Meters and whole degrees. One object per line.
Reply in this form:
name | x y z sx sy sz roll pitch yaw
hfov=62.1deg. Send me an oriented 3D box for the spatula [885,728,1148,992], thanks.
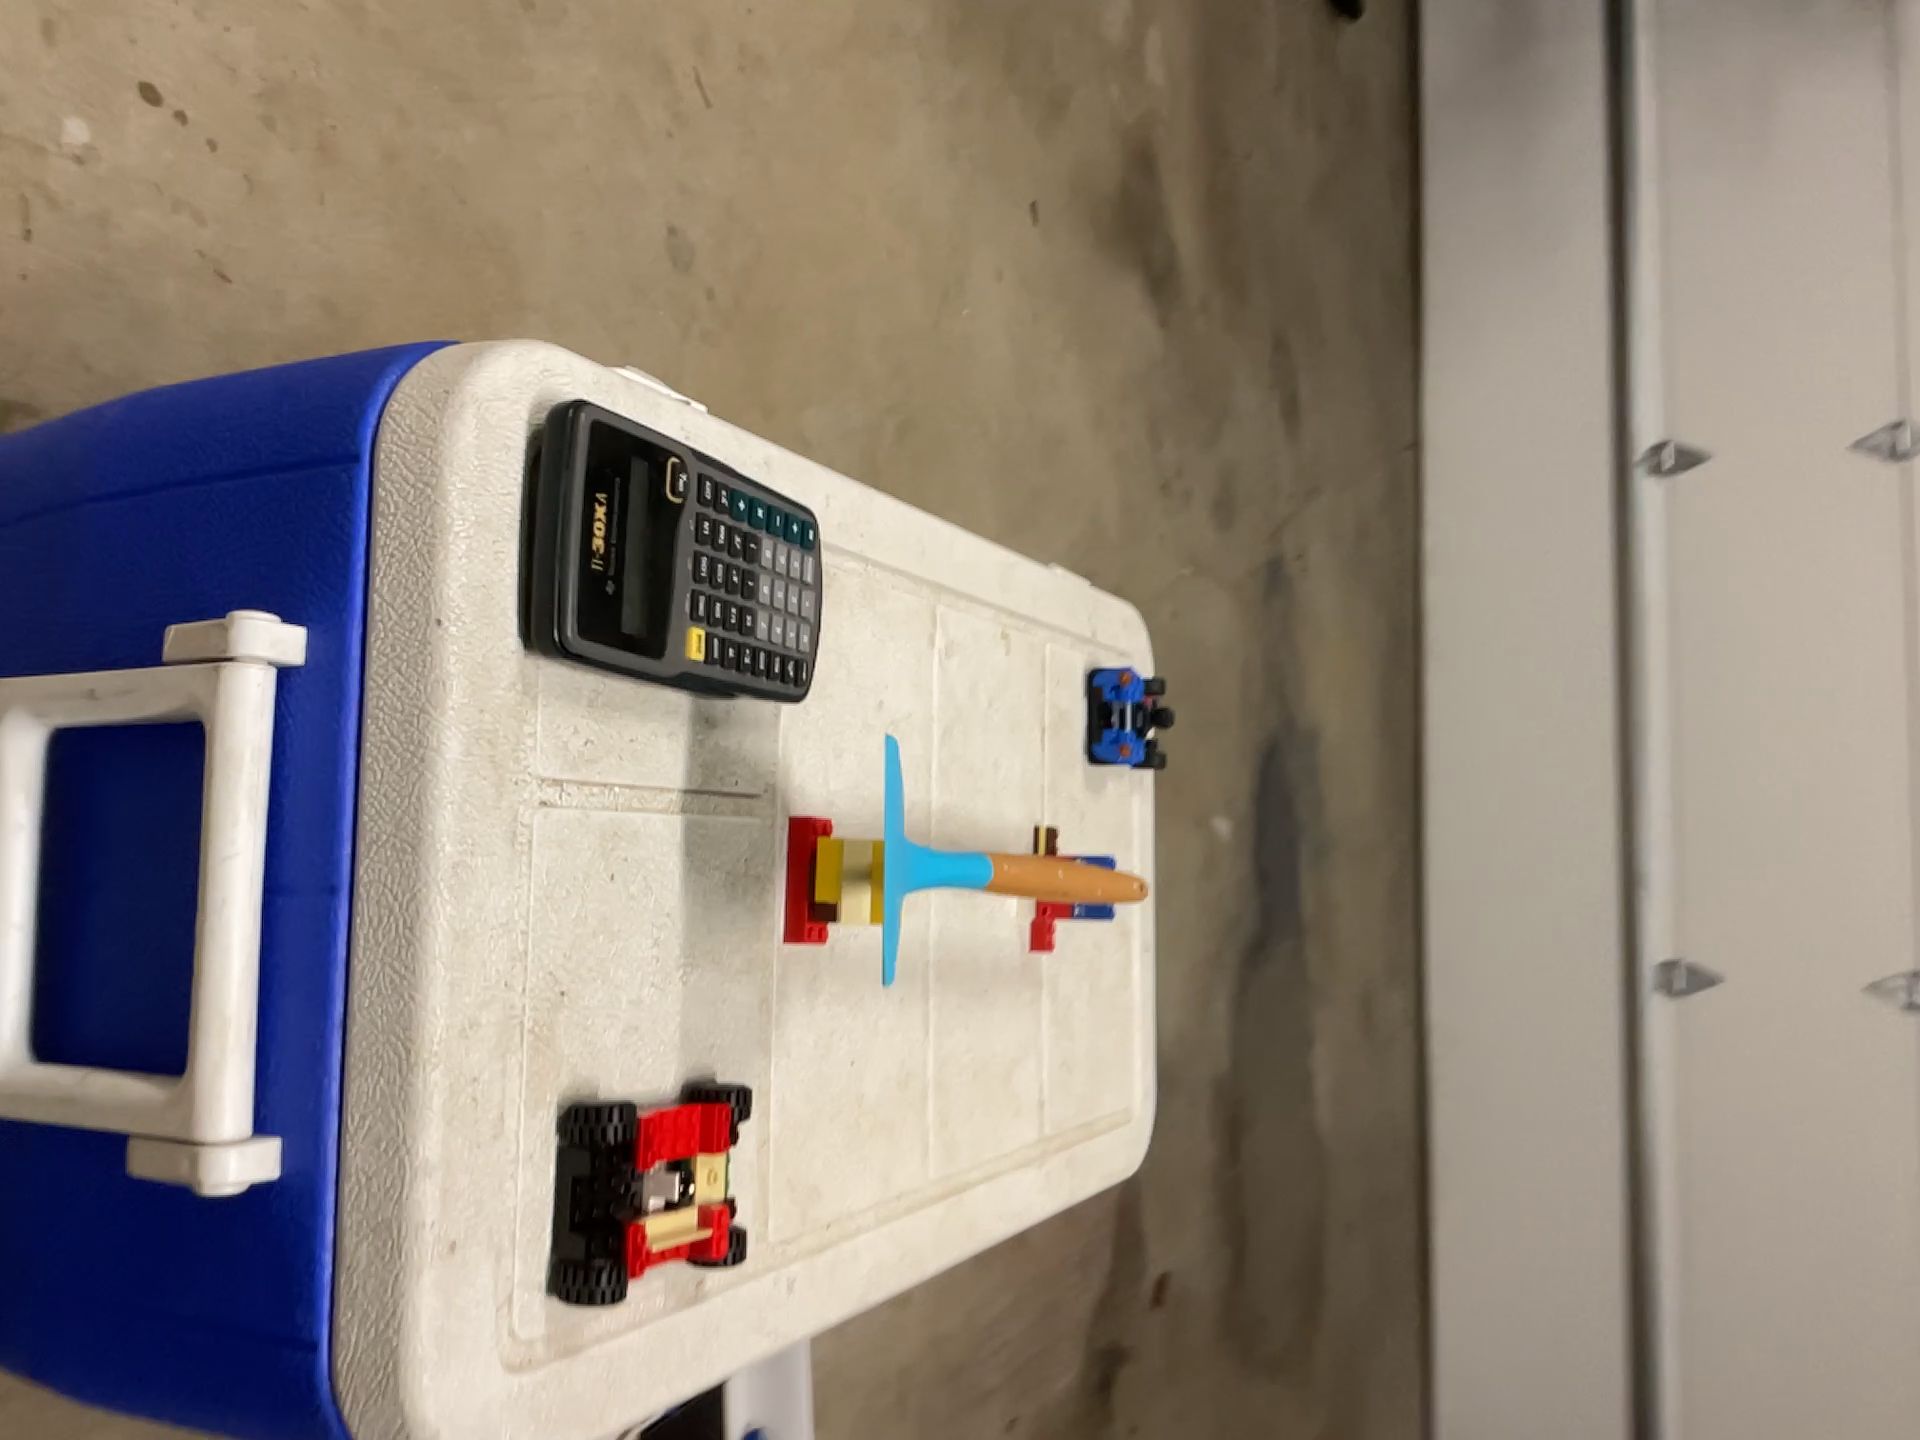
spatula | 0.027 0.063 0.640 0.317 0.044 0.082 16 71 -63
